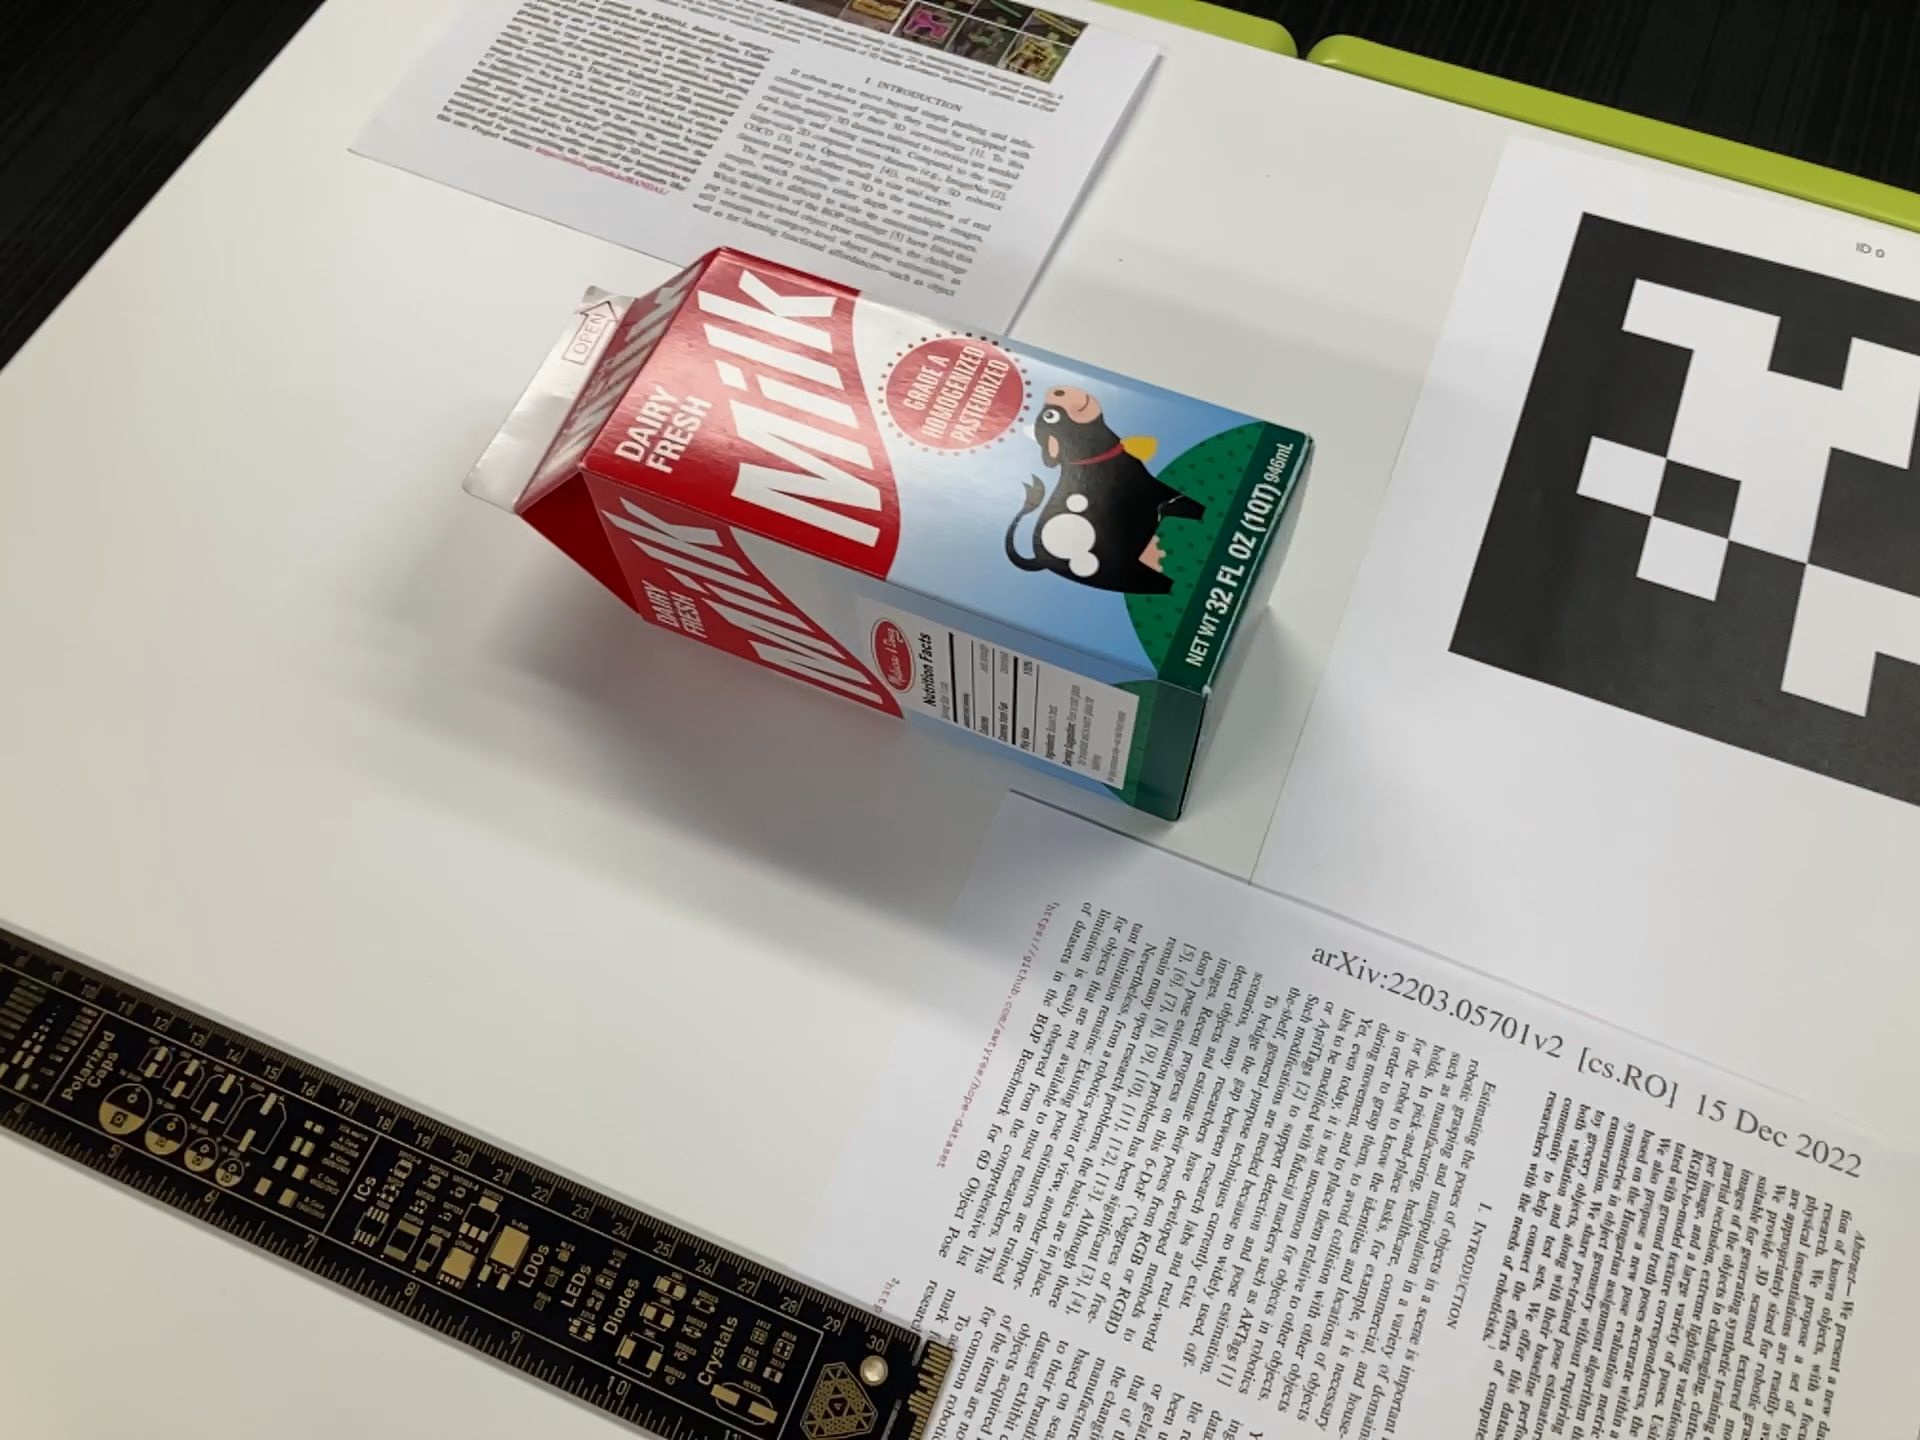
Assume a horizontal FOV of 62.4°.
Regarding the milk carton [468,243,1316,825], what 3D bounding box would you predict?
[{"bbox_3d":[-0.021,-0.051,0.383,0.190,0.073,0.072,20,66,11],"label":"milk carton"}]
